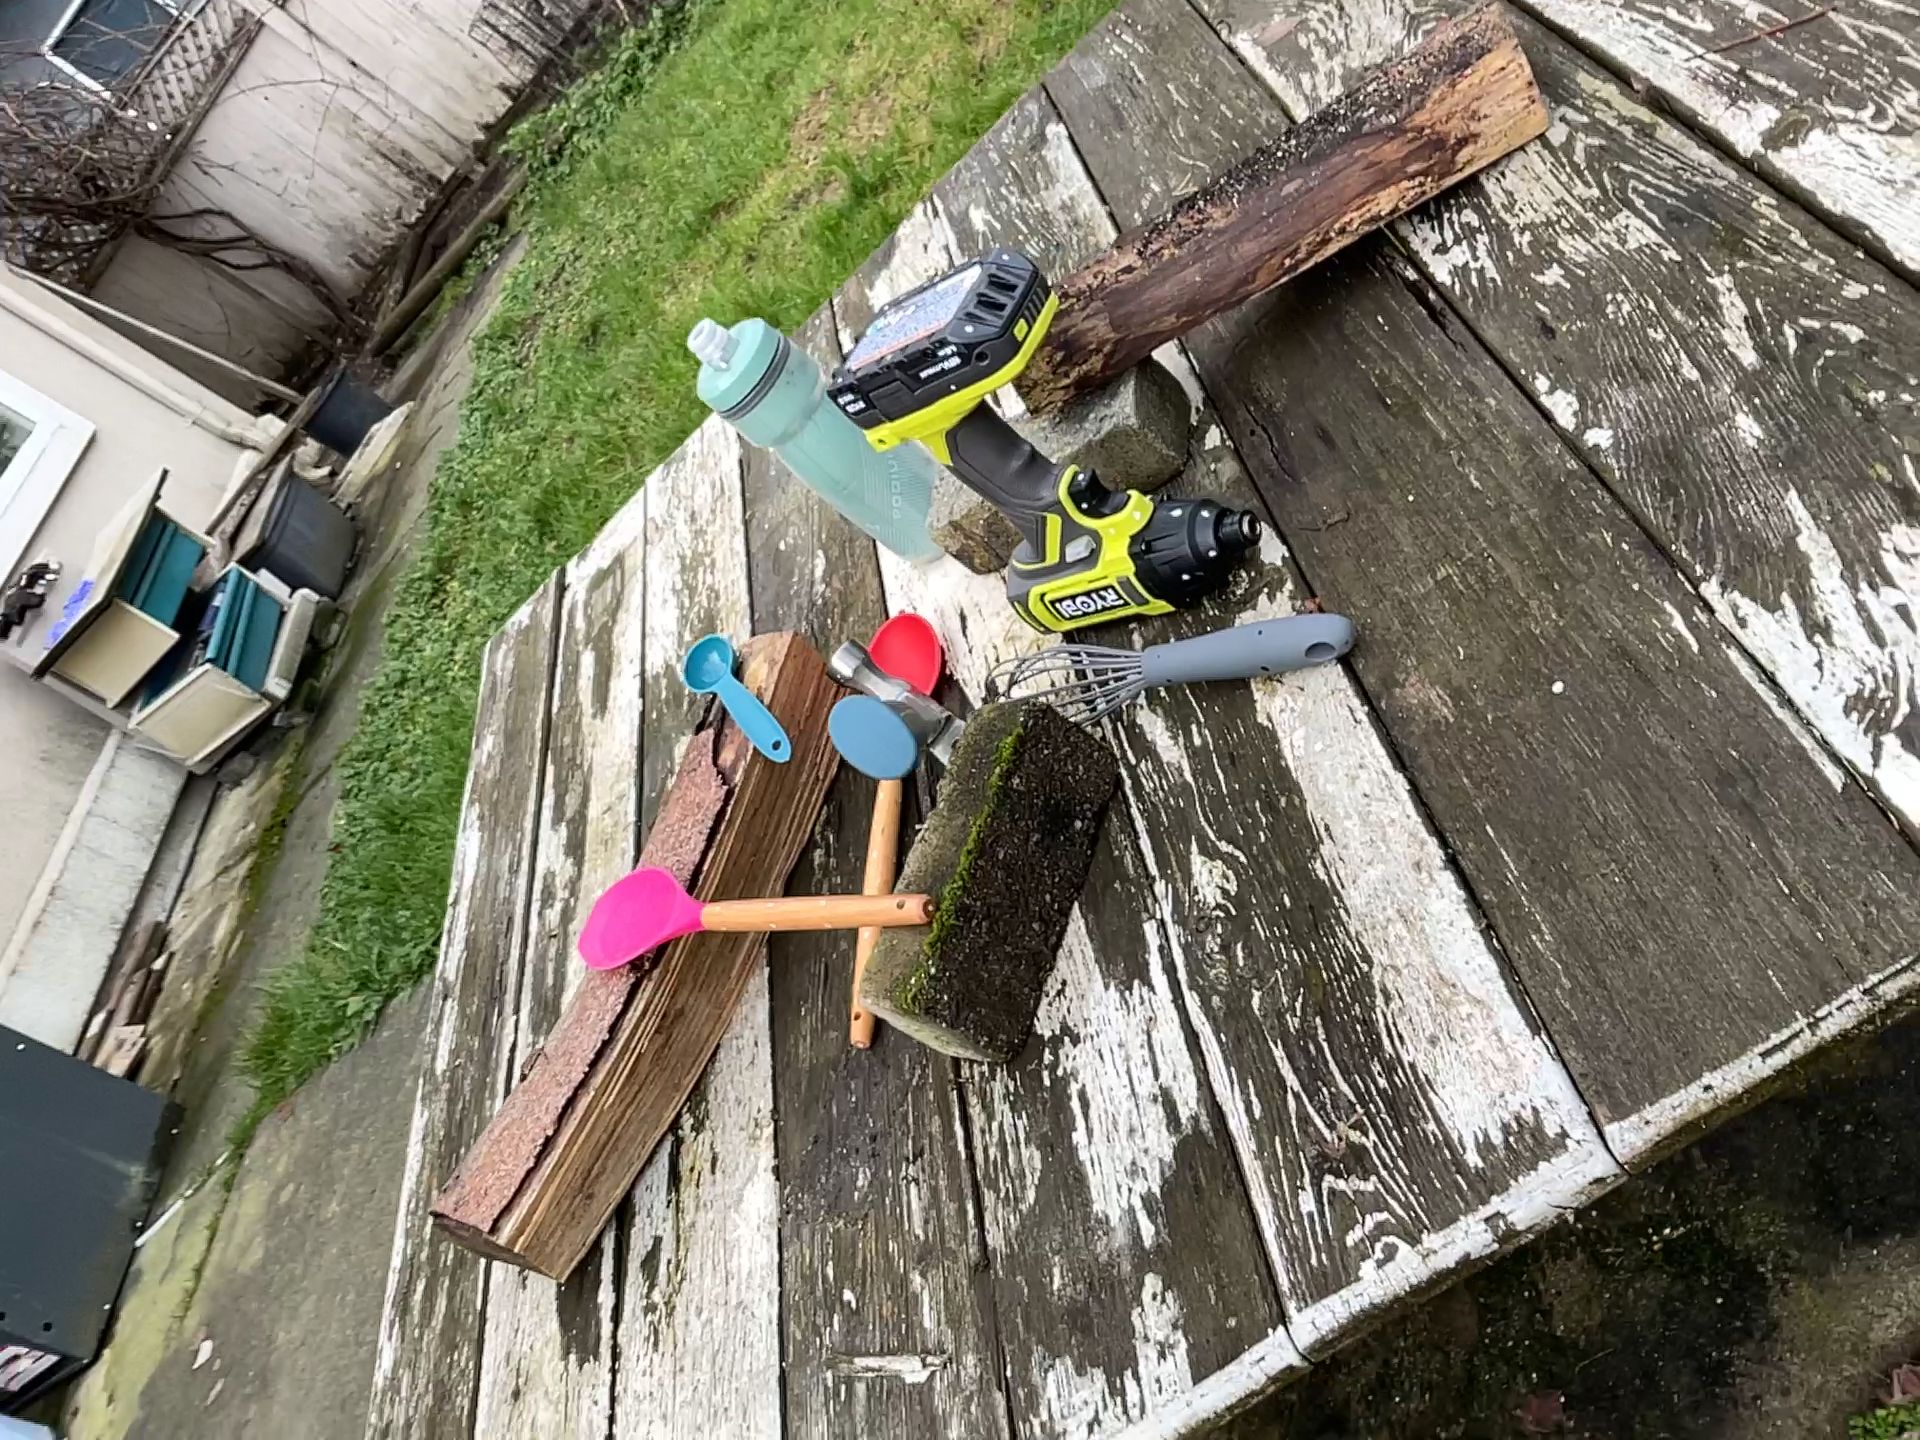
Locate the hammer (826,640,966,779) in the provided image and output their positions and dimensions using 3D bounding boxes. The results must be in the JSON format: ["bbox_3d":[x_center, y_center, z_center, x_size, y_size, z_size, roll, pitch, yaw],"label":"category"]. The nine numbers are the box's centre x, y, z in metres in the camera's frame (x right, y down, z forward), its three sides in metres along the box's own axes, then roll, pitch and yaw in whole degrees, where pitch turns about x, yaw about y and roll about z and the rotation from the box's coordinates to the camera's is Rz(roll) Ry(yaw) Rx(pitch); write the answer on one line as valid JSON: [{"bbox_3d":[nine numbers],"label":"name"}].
[{"bbox_3d":[-0.031,0.002,0.857,0.033,0.128,0.331,-55,-1,3],"label":"hammer"}]

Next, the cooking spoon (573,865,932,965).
[{"bbox_3d":[-0.131,0.113,0.918,0.319,0.017,0.069,-8,53,45],"label":"cooking spoon"}]

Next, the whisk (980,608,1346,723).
[{"bbox_3d":[0.104,-0.030,0.868,0.239,0.055,0.055,-12,59,44],"label":"whisk"}]

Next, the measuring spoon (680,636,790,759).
[{"bbox_3d":[-0.144,-0.010,1.061,0.042,0.021,0.129,-50,53,6],"label":"measuring spoon"}]

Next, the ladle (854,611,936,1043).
[{"bbox_3d":[-0.047,0.059,1.013,0.069,0.031,0.316,-27,43,33],"label":"ladle"}]

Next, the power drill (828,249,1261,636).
[{"bbox_3d":[0.050,-0.145,0.893,0.171,0.223,0.080,-12,43,46],"label":"power drill"}]
